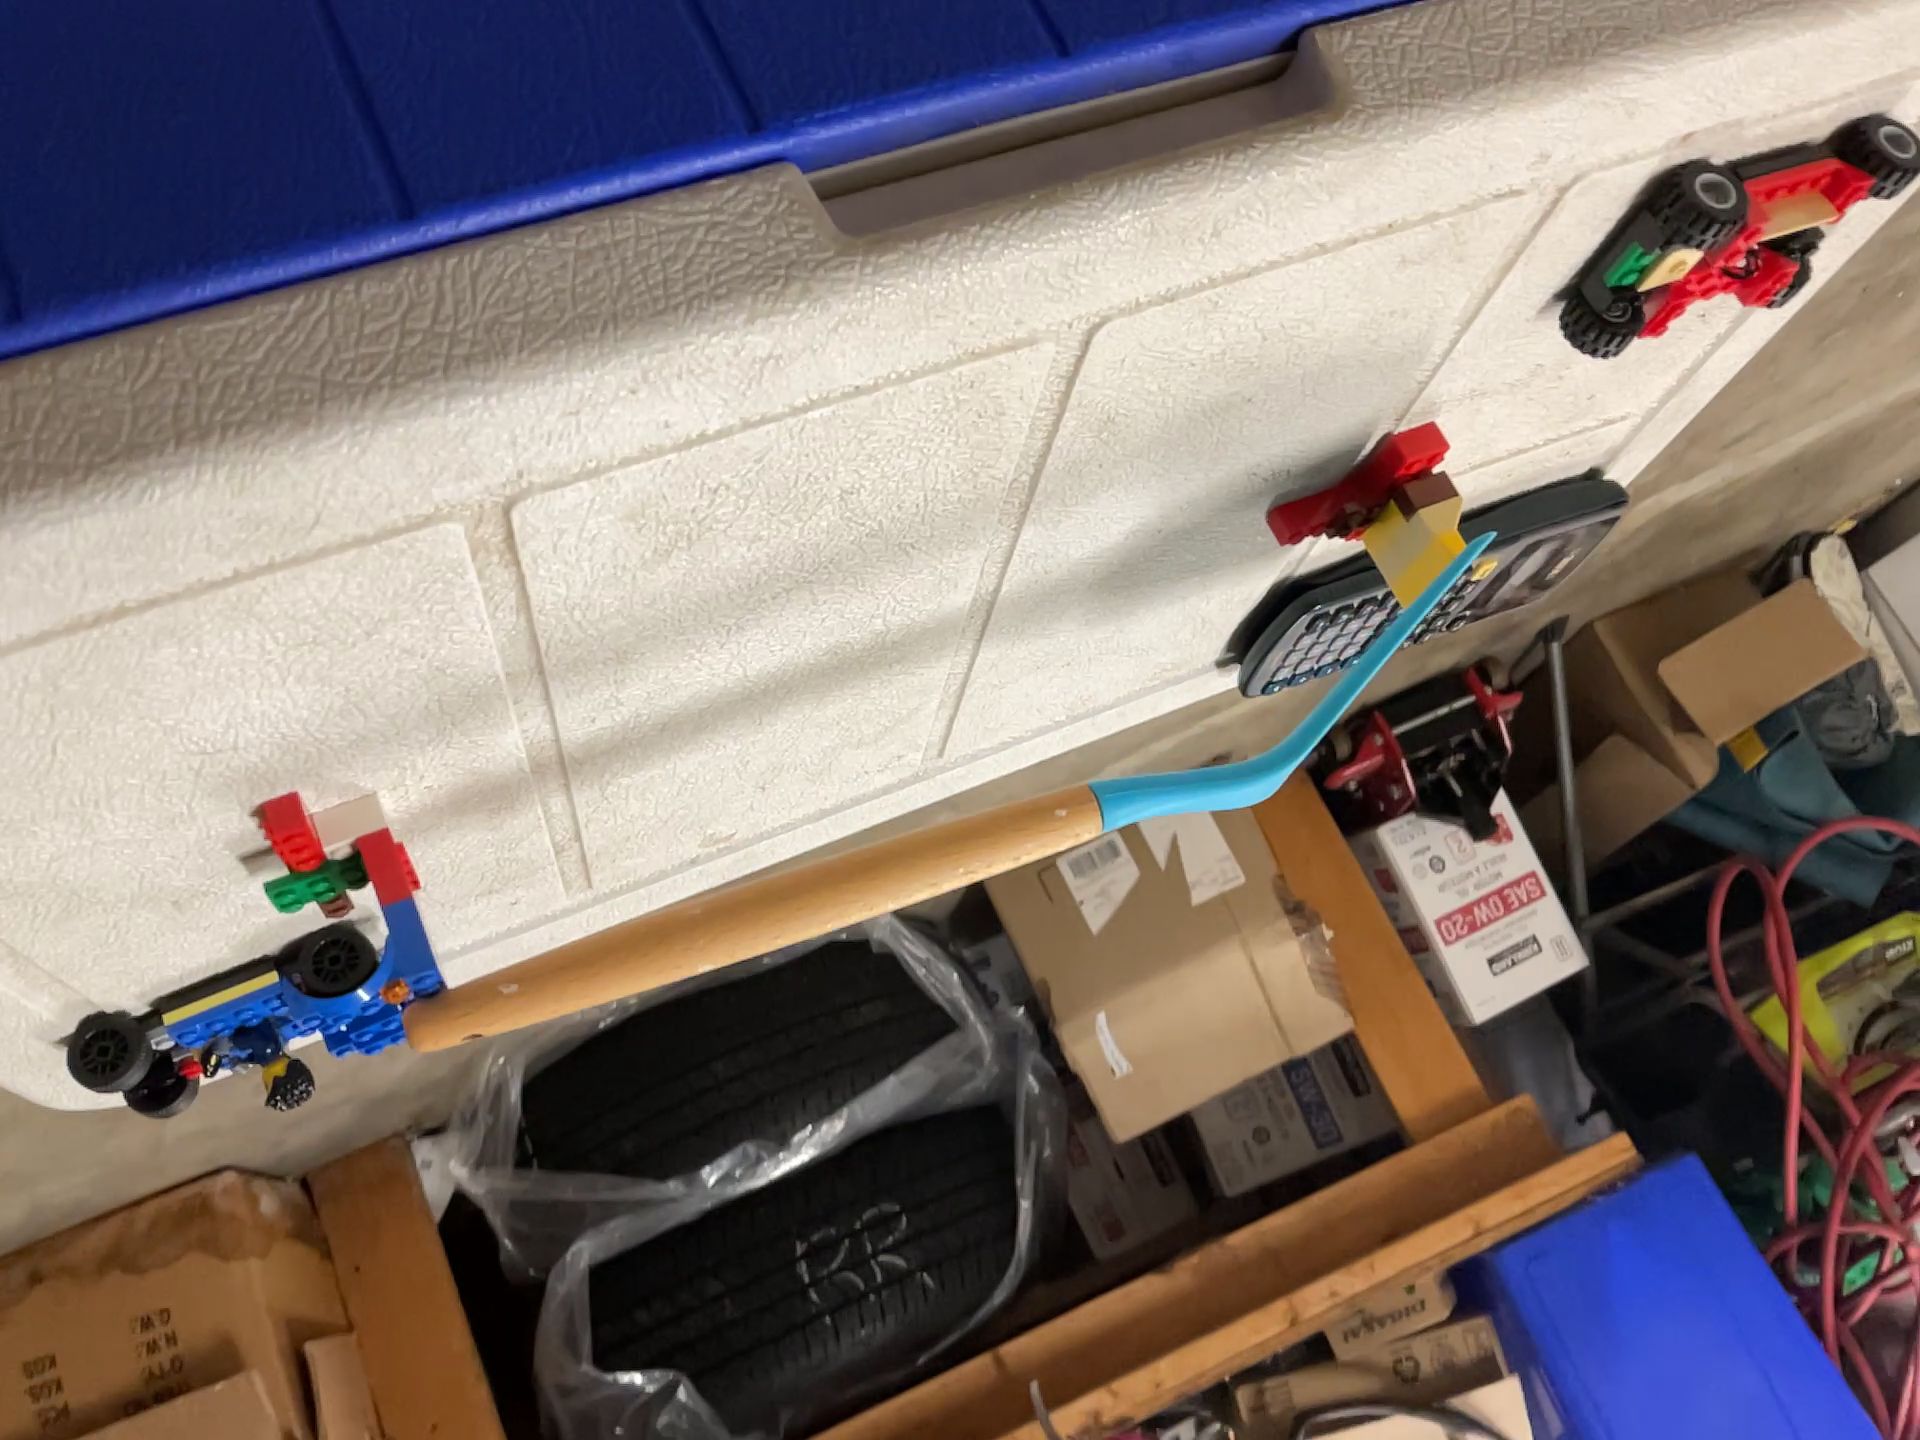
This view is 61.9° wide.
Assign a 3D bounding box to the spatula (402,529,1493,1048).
[{"bbox_3d":[0.008,0.022,0.436,0.317,0.044,0.082,-17,161,-16],"label":"spatula"}]
